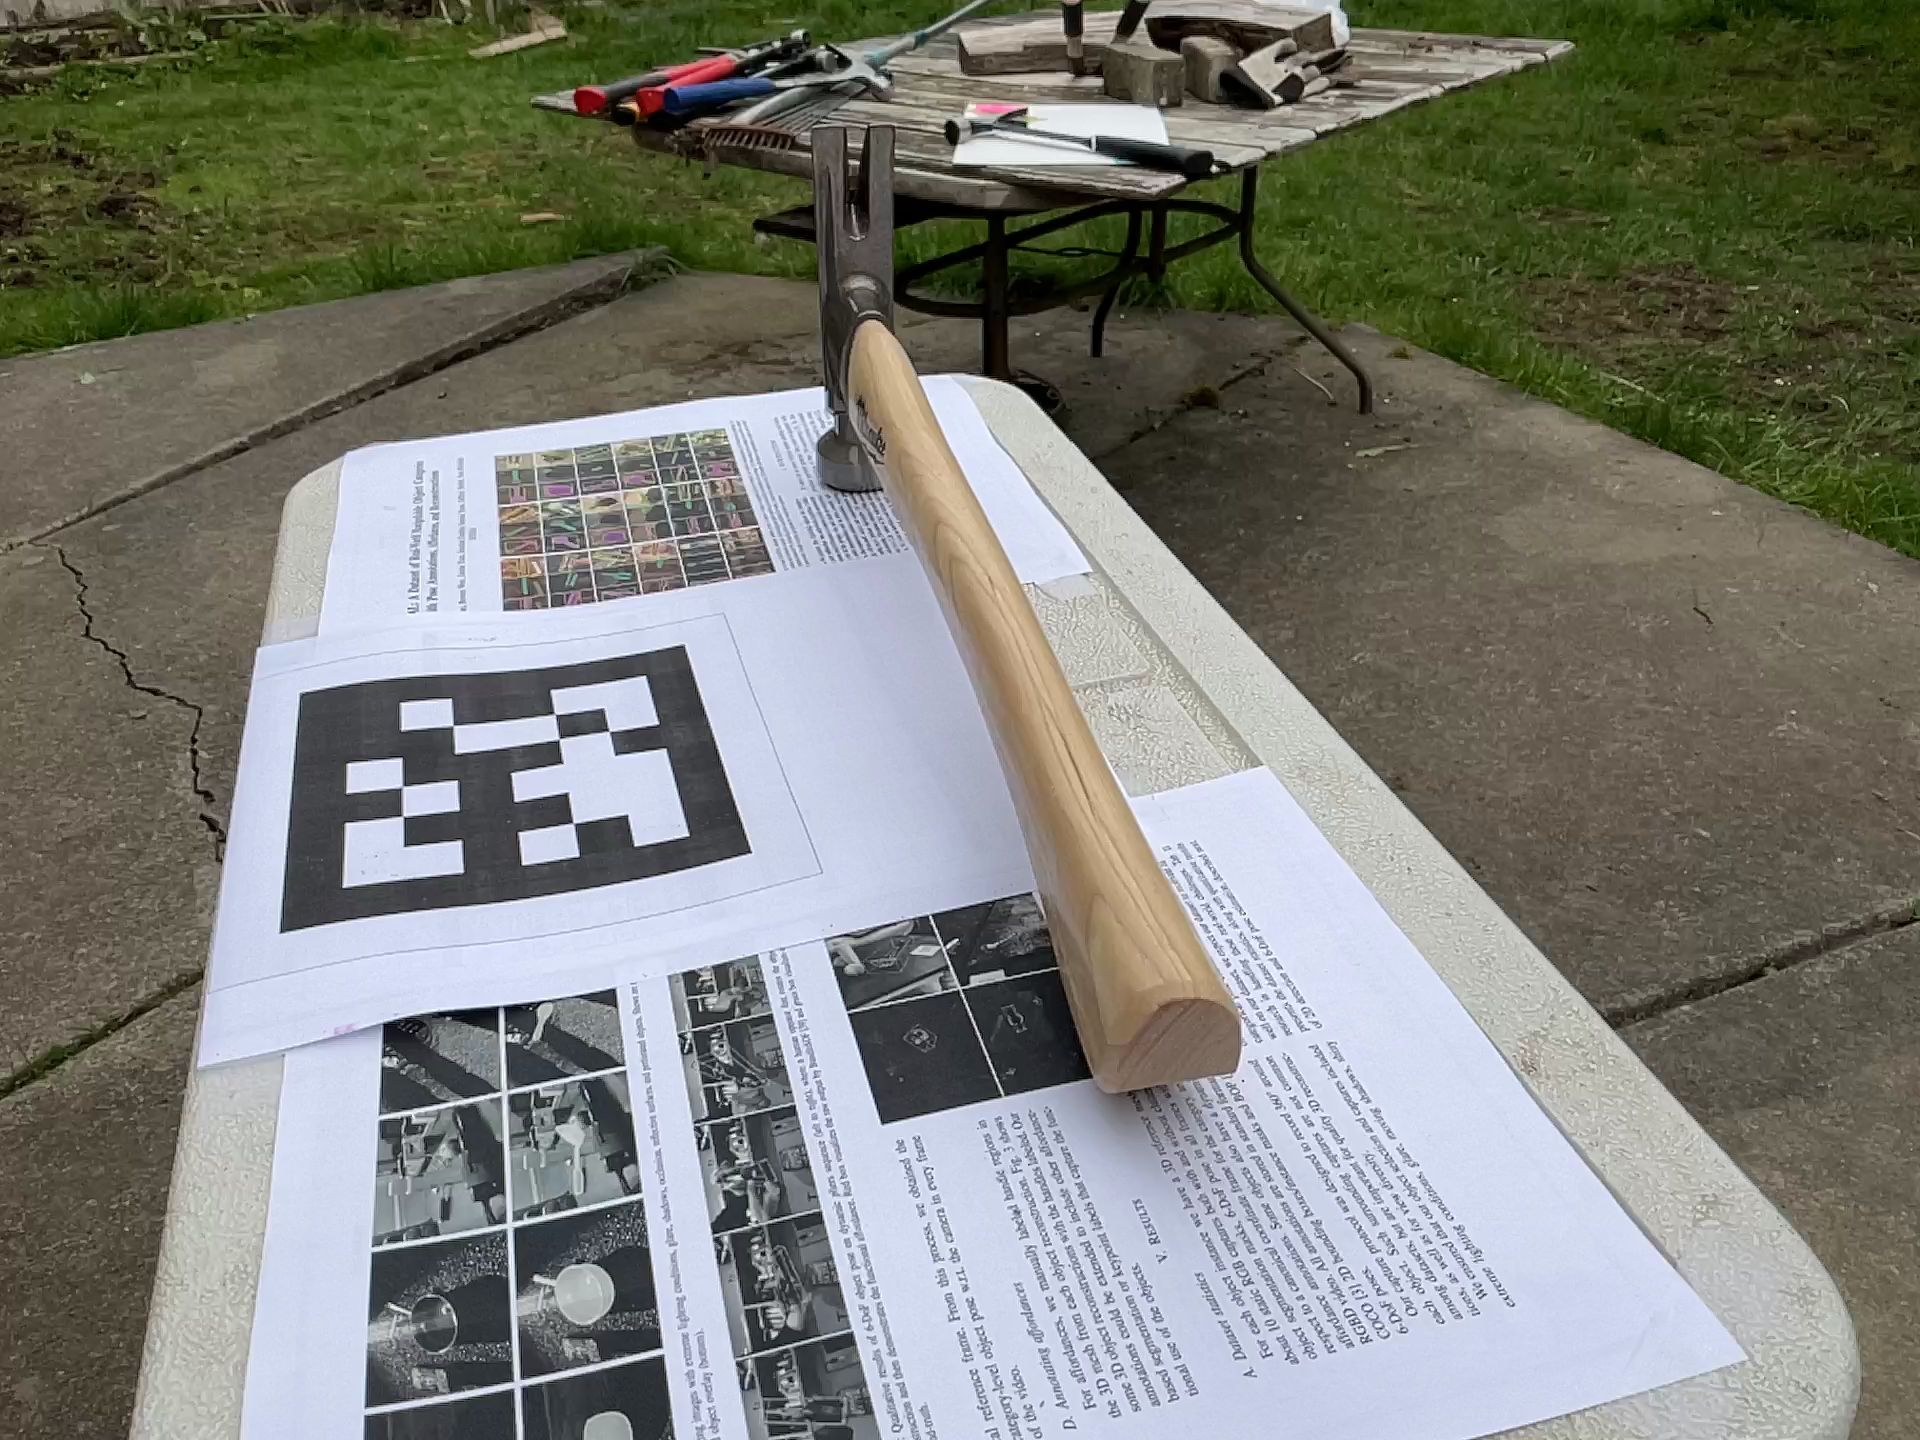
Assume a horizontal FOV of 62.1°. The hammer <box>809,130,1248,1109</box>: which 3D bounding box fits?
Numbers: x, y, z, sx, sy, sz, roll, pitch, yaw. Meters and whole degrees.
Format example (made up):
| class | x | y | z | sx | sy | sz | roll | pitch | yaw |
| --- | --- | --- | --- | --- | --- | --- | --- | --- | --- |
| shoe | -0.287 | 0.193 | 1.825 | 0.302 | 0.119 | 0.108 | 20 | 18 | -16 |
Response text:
| class | x | y | z | sx | sy | sz | roll | pitch | yaw |
| --- | --- | --- | --- | --- | --- | --- | --- | --- | --- |
| hammer | 0.002 | -0.054 | 0.496 | 0.038 | 0.146 | 0.411 | -8 | 37 | -11 |
